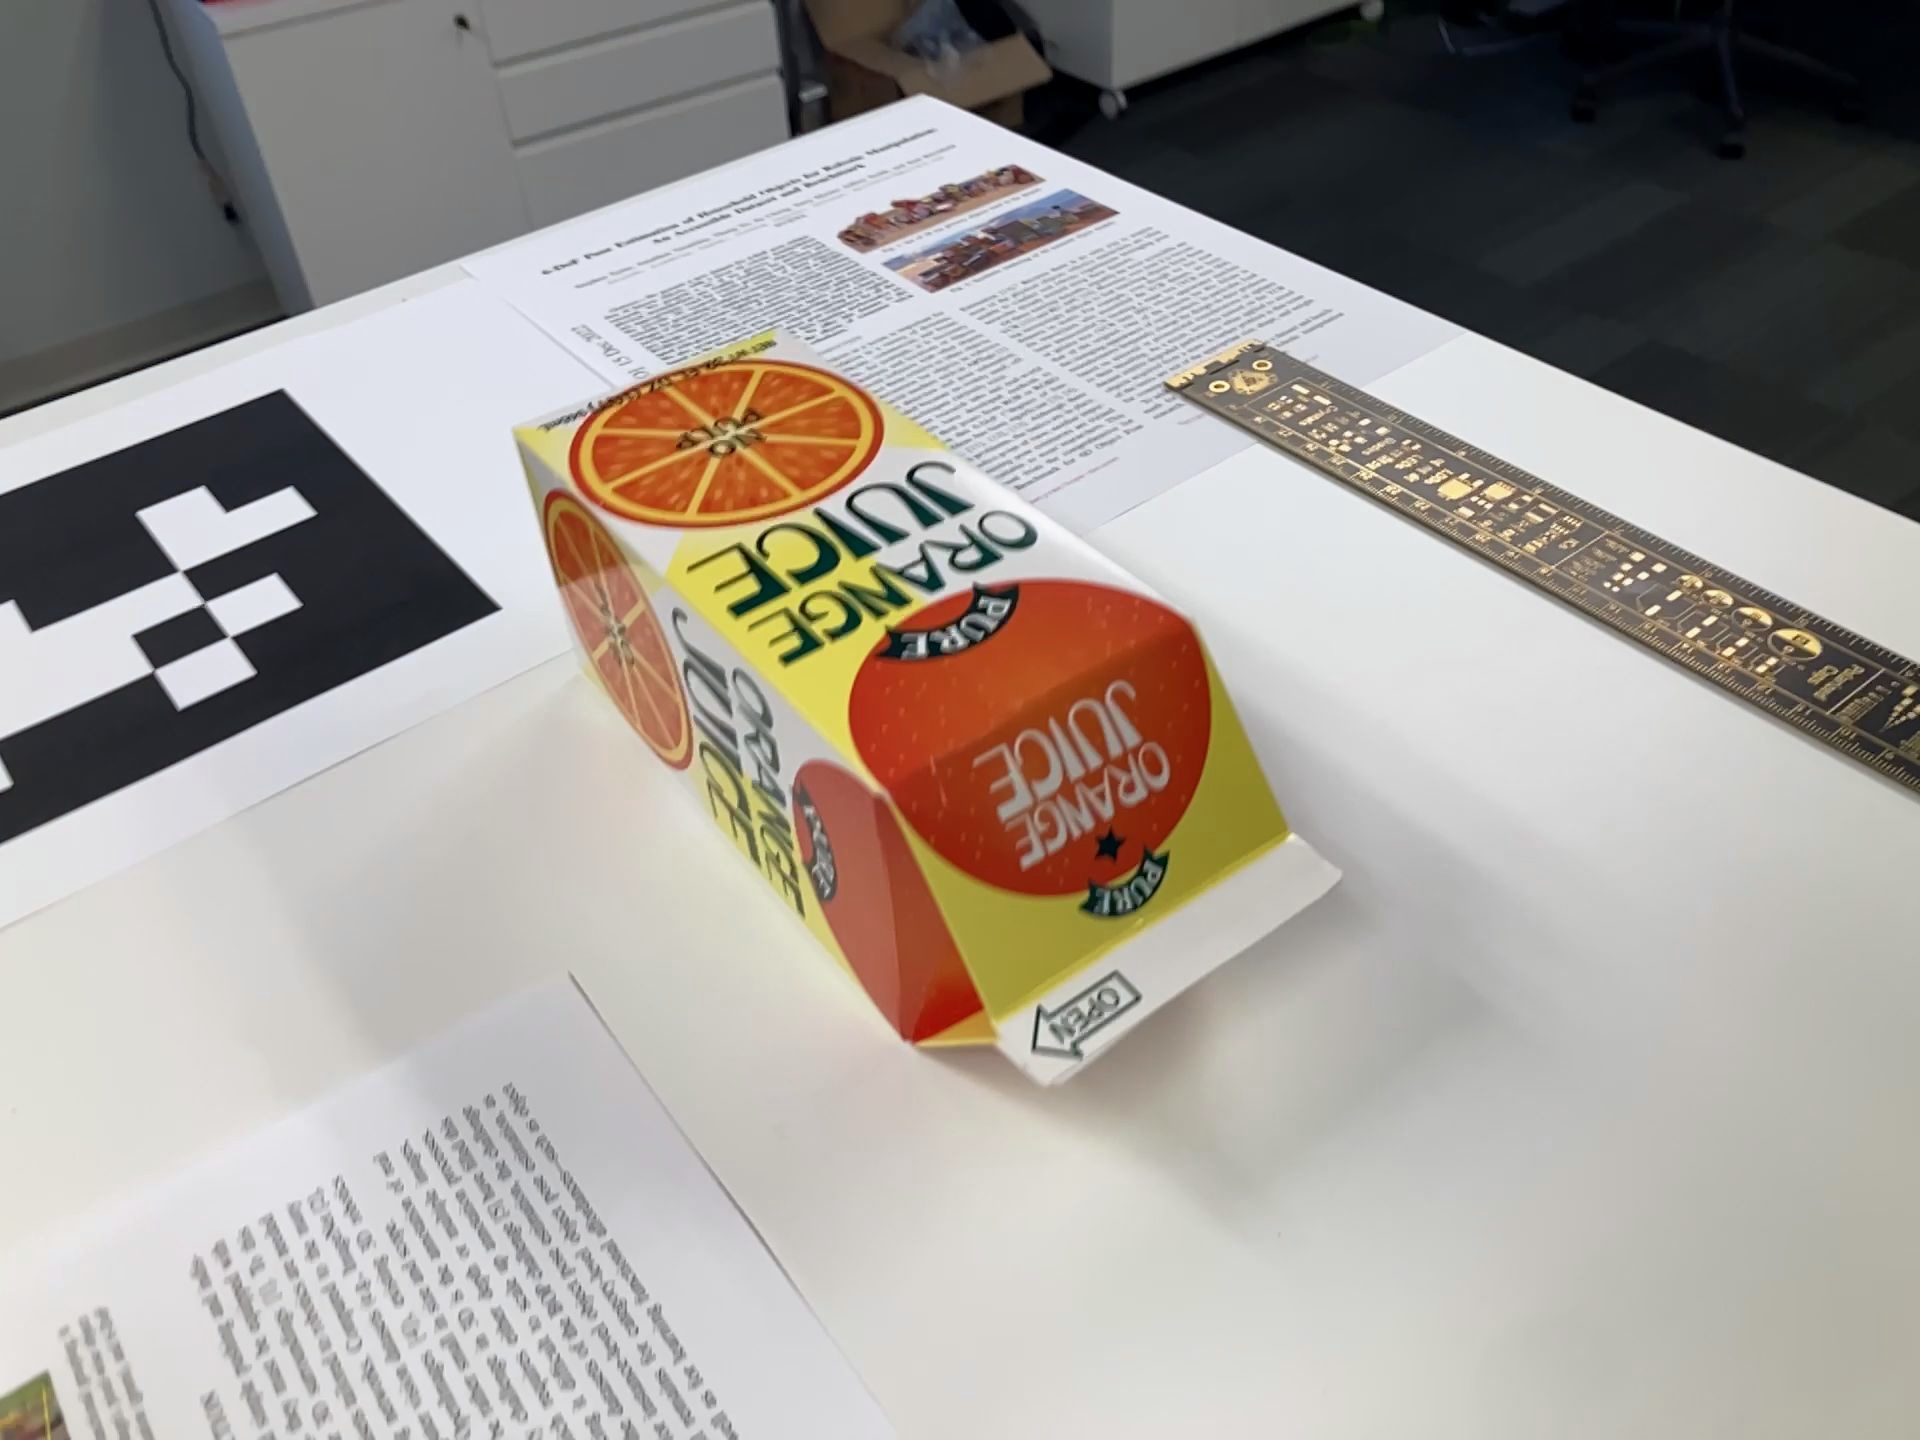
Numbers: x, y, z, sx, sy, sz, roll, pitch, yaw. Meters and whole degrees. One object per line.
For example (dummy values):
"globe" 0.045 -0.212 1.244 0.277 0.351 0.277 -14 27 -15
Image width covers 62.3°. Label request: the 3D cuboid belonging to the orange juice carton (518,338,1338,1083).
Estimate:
"orange juice carton" -0.015 -0.005 0.335 0.072 0.073 0.192 -27 46 -24
